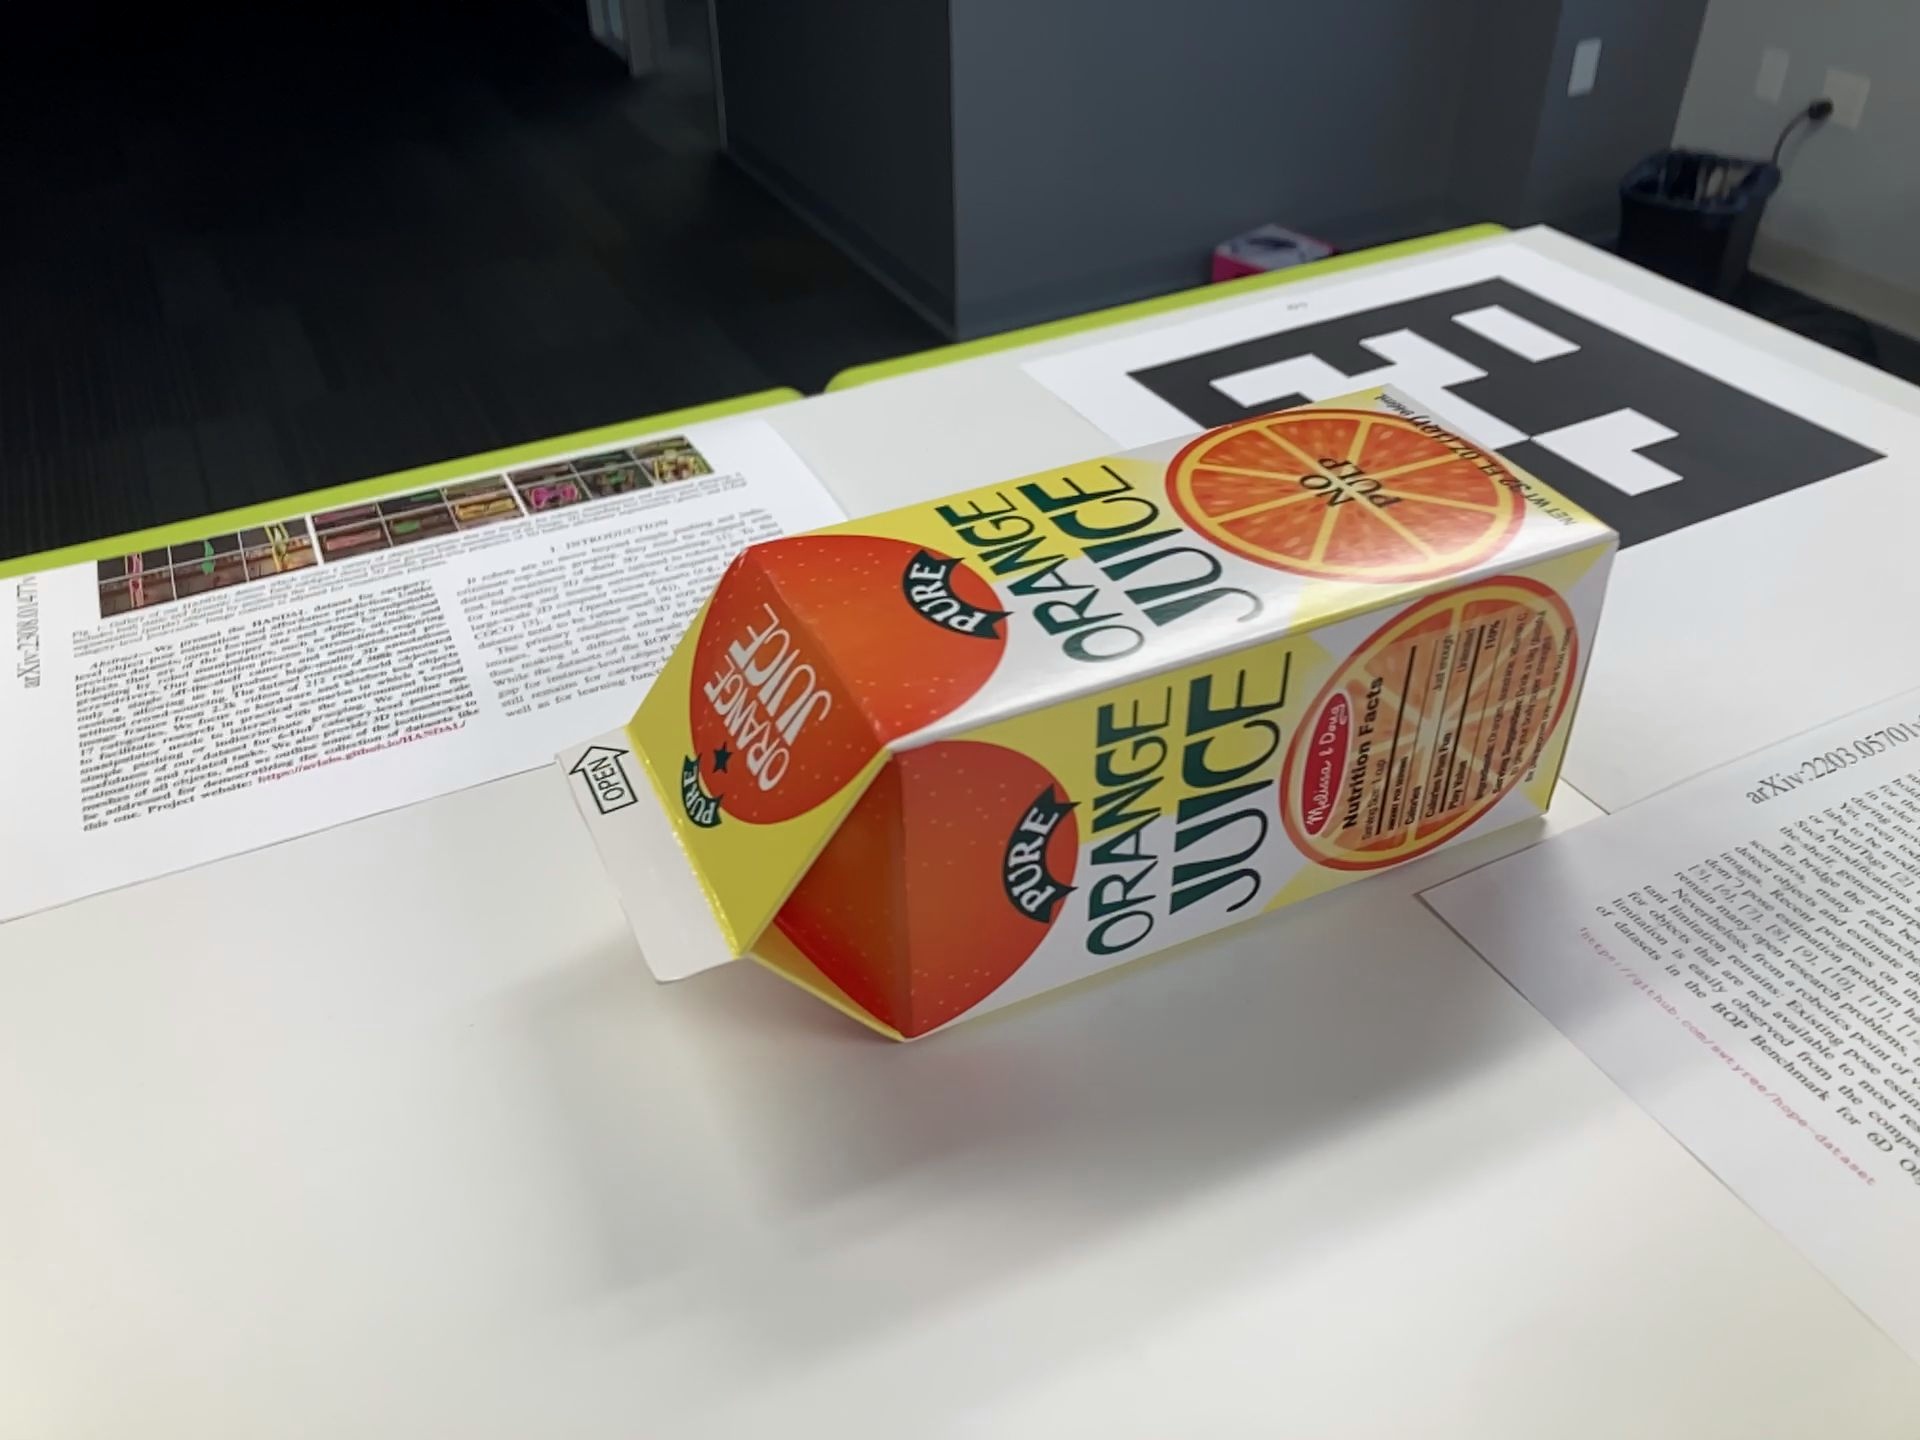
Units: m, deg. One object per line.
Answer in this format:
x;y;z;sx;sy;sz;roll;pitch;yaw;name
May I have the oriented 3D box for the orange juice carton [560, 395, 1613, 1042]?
0.024;0.000;0.314;0.192;0.073;0.072;-16;40;-19;orange juice carton
